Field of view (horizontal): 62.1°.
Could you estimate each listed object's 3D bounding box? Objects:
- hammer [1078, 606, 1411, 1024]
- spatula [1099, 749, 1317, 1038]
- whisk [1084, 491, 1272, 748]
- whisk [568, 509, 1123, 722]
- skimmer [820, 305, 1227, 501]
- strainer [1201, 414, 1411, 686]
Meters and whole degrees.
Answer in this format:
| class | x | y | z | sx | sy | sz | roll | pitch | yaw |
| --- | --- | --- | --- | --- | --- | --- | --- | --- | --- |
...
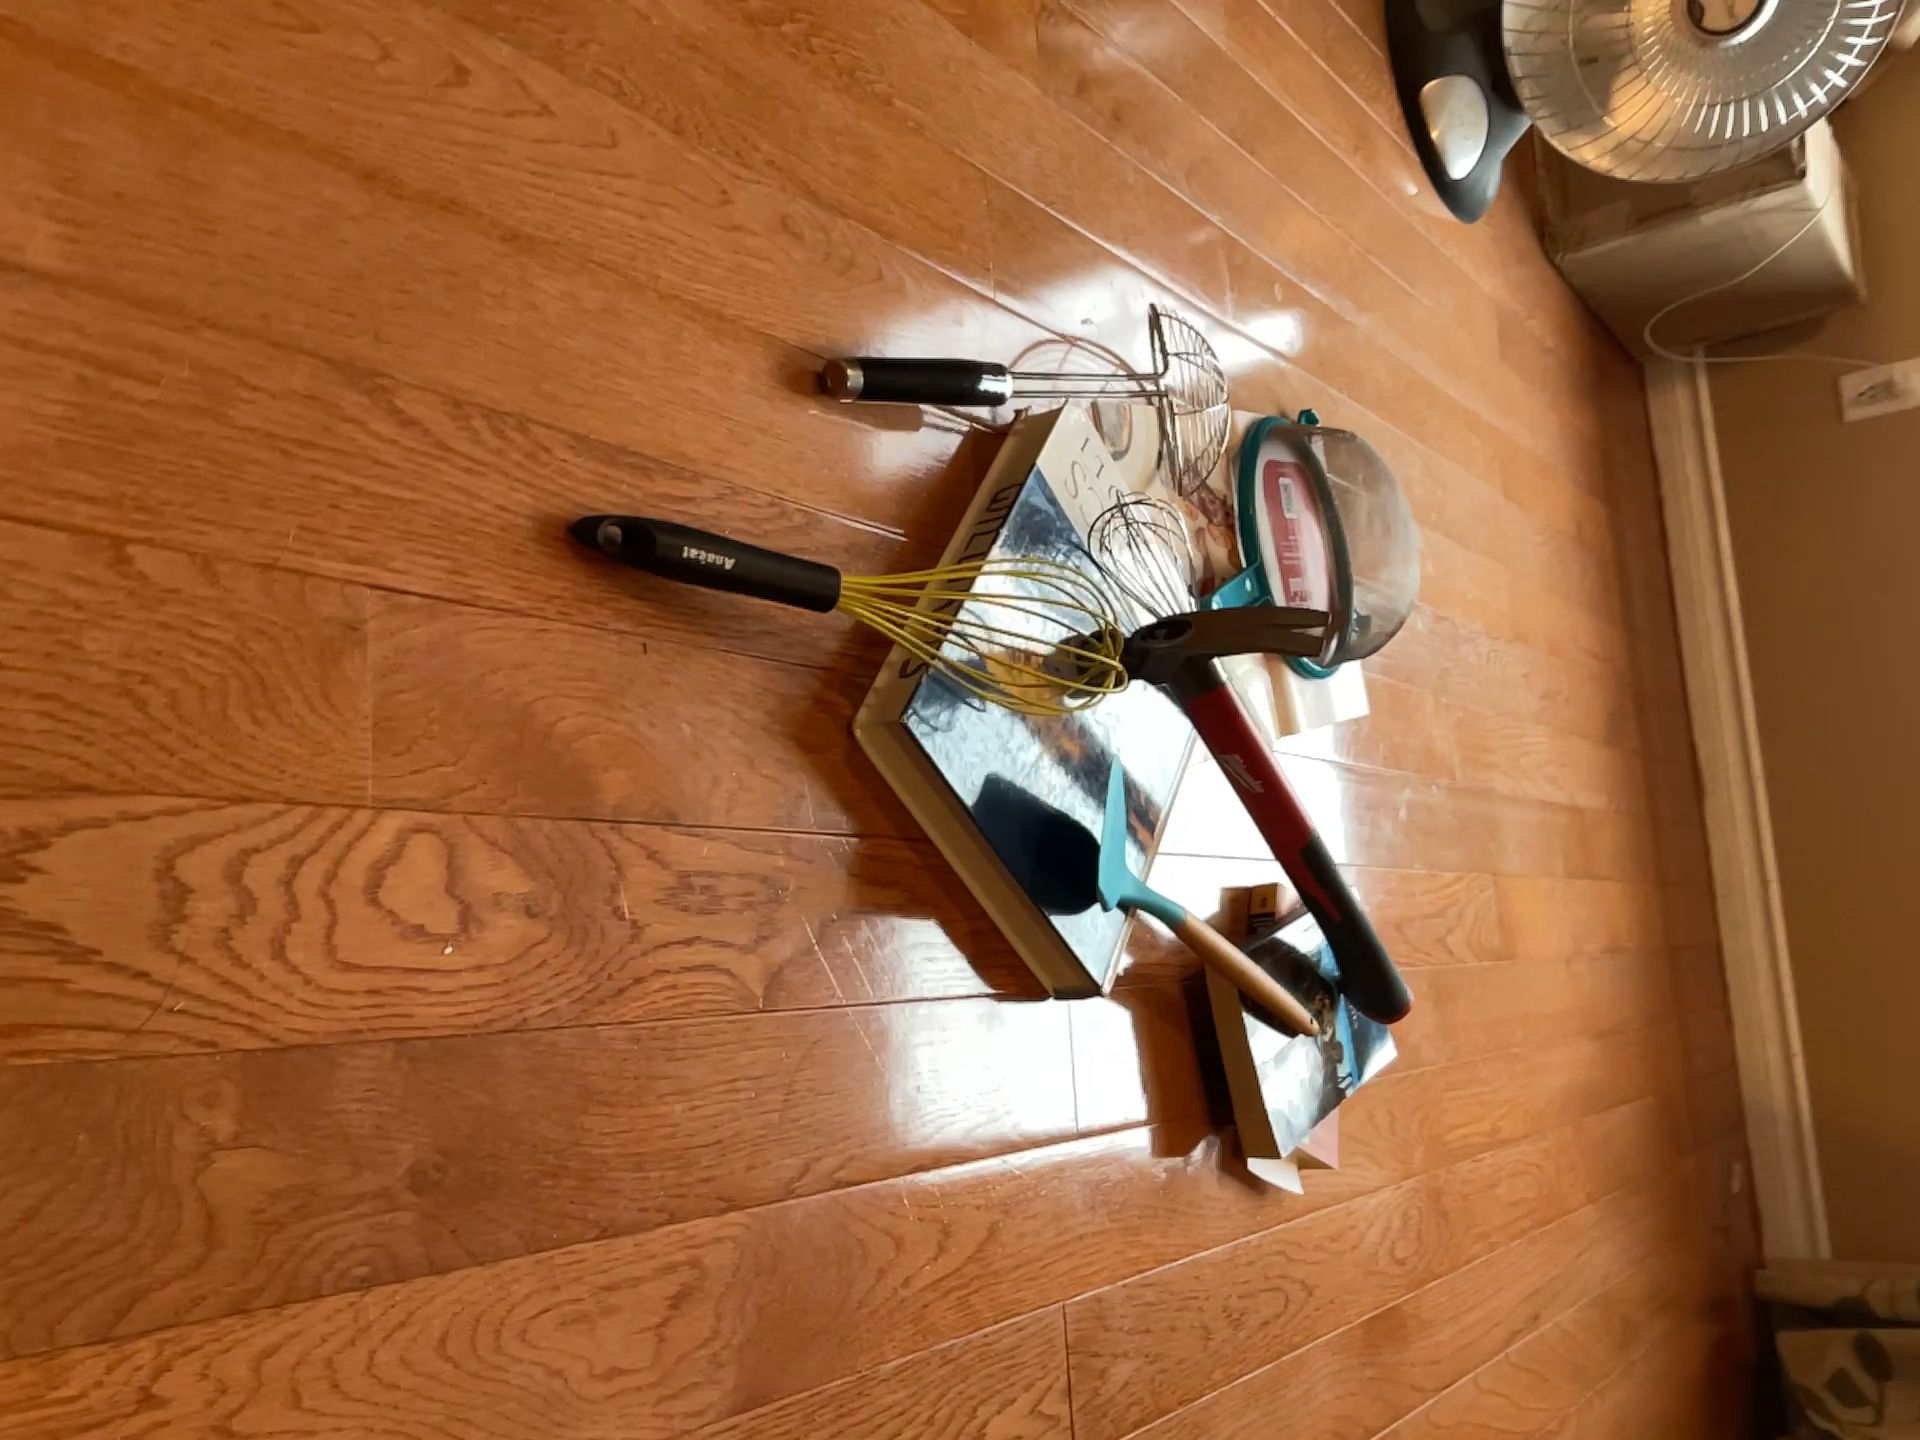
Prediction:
| class | x | y | z | sx | sy | sz | roll | pitch | yaw |
| --- | --- | --- | --- | --- | --- | --- | --- | --- | --- |
| hammer | 0.218 | 0.073 | 0.982 | 0.386 | 0.143 | 0.038 | 53 | 47 | -37 |
| spatula | 0.148 | 0.127 | 0.939 | 0.317 | 0.044 | 0.082 | 40 | 49 | -42 |
| whisk | 0.143 | -0.049 | 0.982 | 0.246 | 0.057 | 0.059 | 53 | 12 | -40 |
| whisk | -0.040 | -0.056 | 0.748 | 0.311 | 0.067 | 0.080 | 12 | 87 | -38 |
| skimmer | 0.044 | -0.191 | 0.952 | 0.363 | 0.090 | 0.127 | -10 | 92 | -44 |
| strainer | 0.266 | -0.119 | 1.168 | 0.341 | 0.095 | 0.211 | -34 | 110 | -59 |
